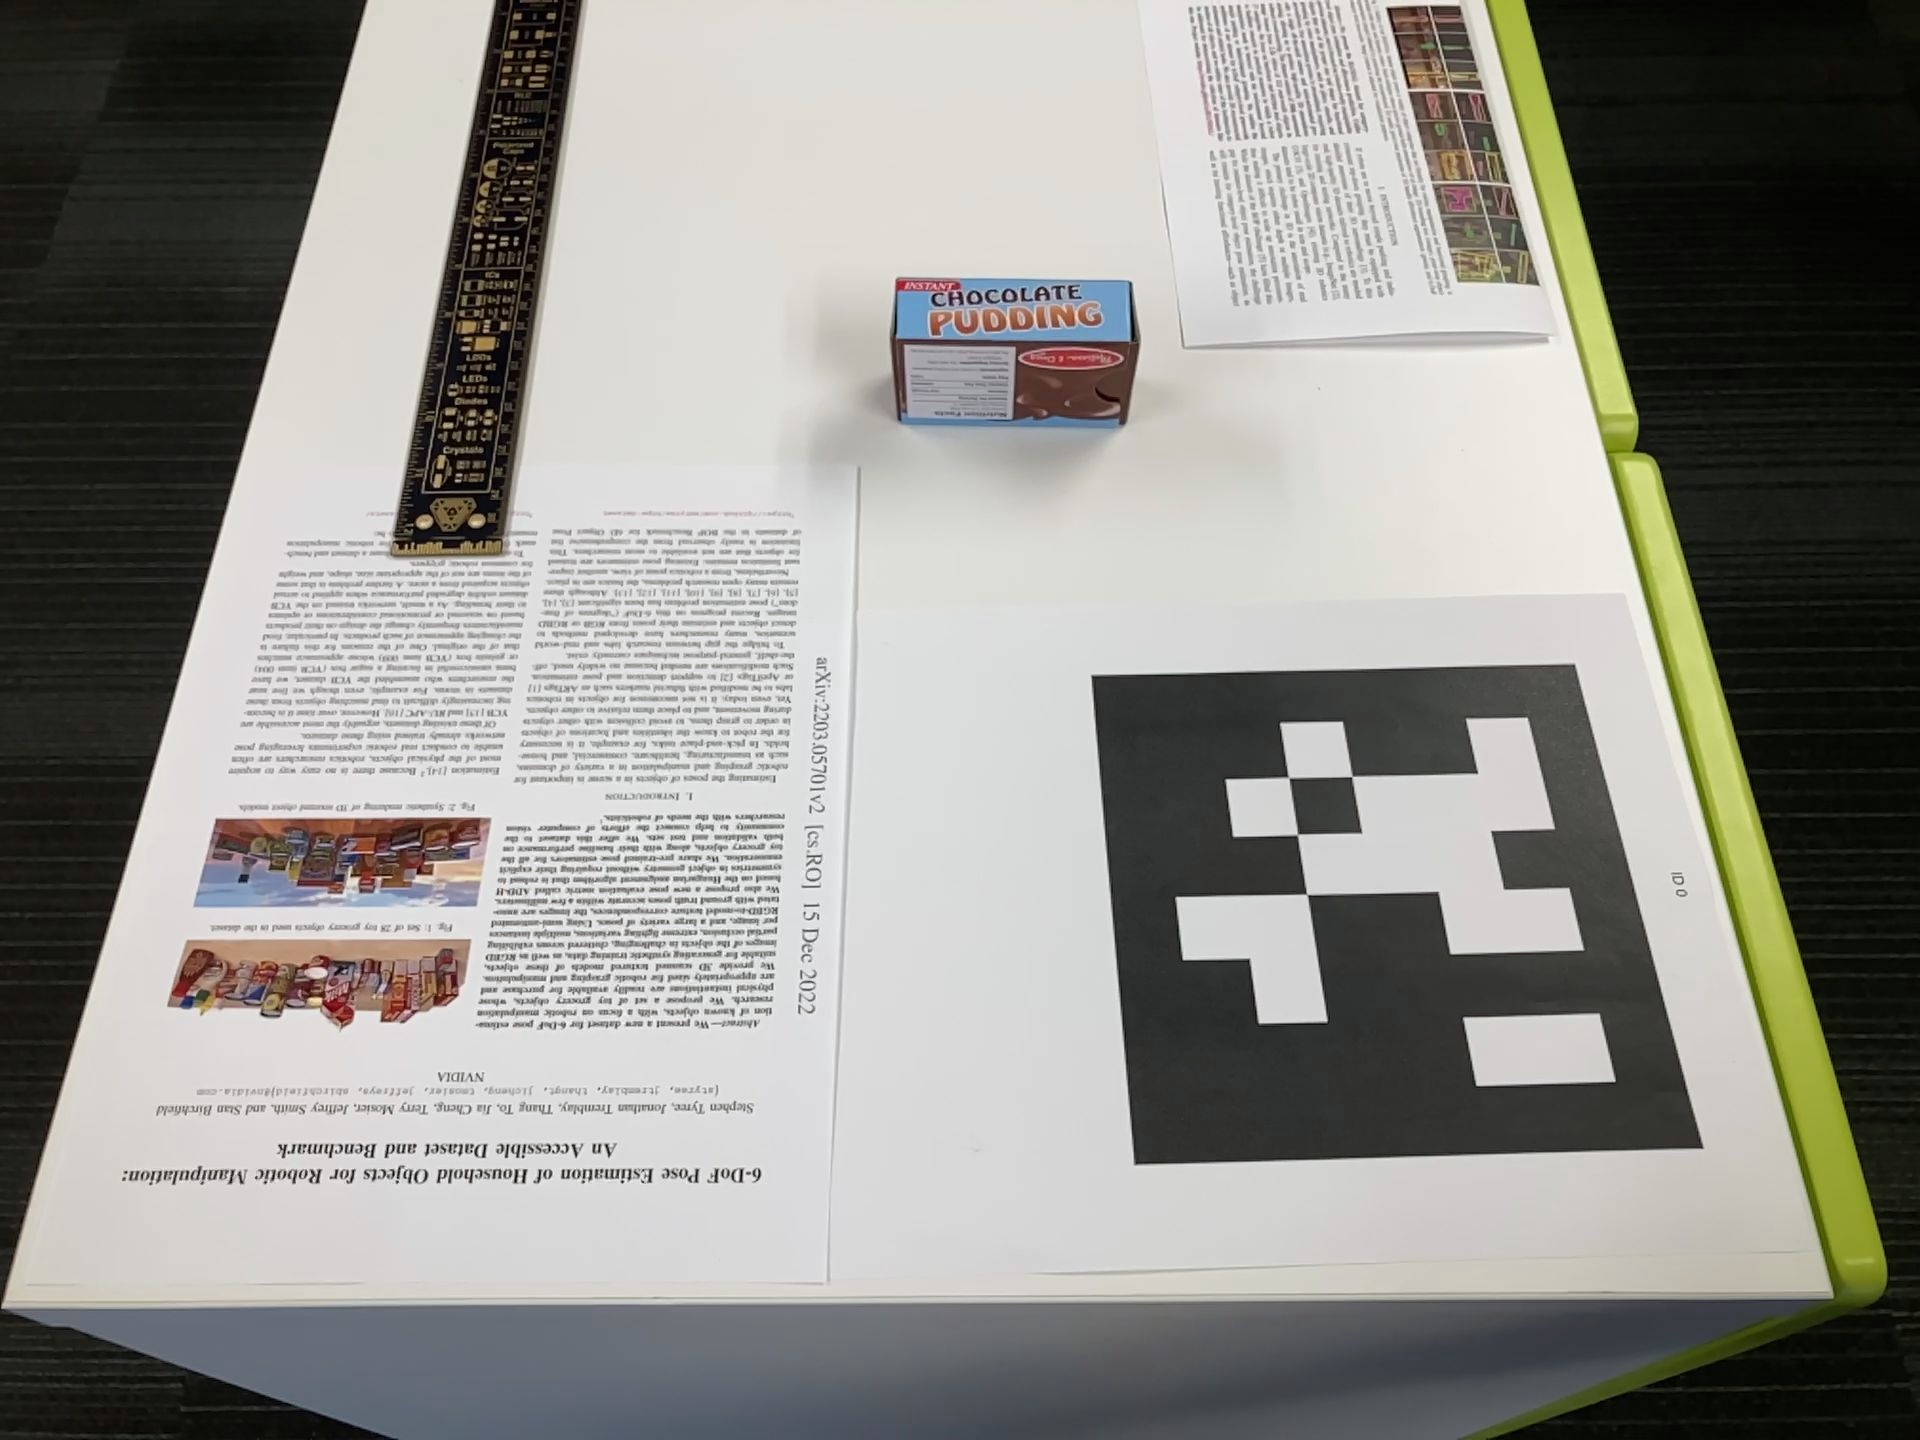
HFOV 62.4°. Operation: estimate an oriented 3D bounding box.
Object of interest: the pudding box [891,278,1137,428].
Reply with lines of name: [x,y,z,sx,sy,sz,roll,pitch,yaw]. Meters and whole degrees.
pudding box: [0.018,-0.130,0.567,0.083,0.049,0.030,1,63,1]
